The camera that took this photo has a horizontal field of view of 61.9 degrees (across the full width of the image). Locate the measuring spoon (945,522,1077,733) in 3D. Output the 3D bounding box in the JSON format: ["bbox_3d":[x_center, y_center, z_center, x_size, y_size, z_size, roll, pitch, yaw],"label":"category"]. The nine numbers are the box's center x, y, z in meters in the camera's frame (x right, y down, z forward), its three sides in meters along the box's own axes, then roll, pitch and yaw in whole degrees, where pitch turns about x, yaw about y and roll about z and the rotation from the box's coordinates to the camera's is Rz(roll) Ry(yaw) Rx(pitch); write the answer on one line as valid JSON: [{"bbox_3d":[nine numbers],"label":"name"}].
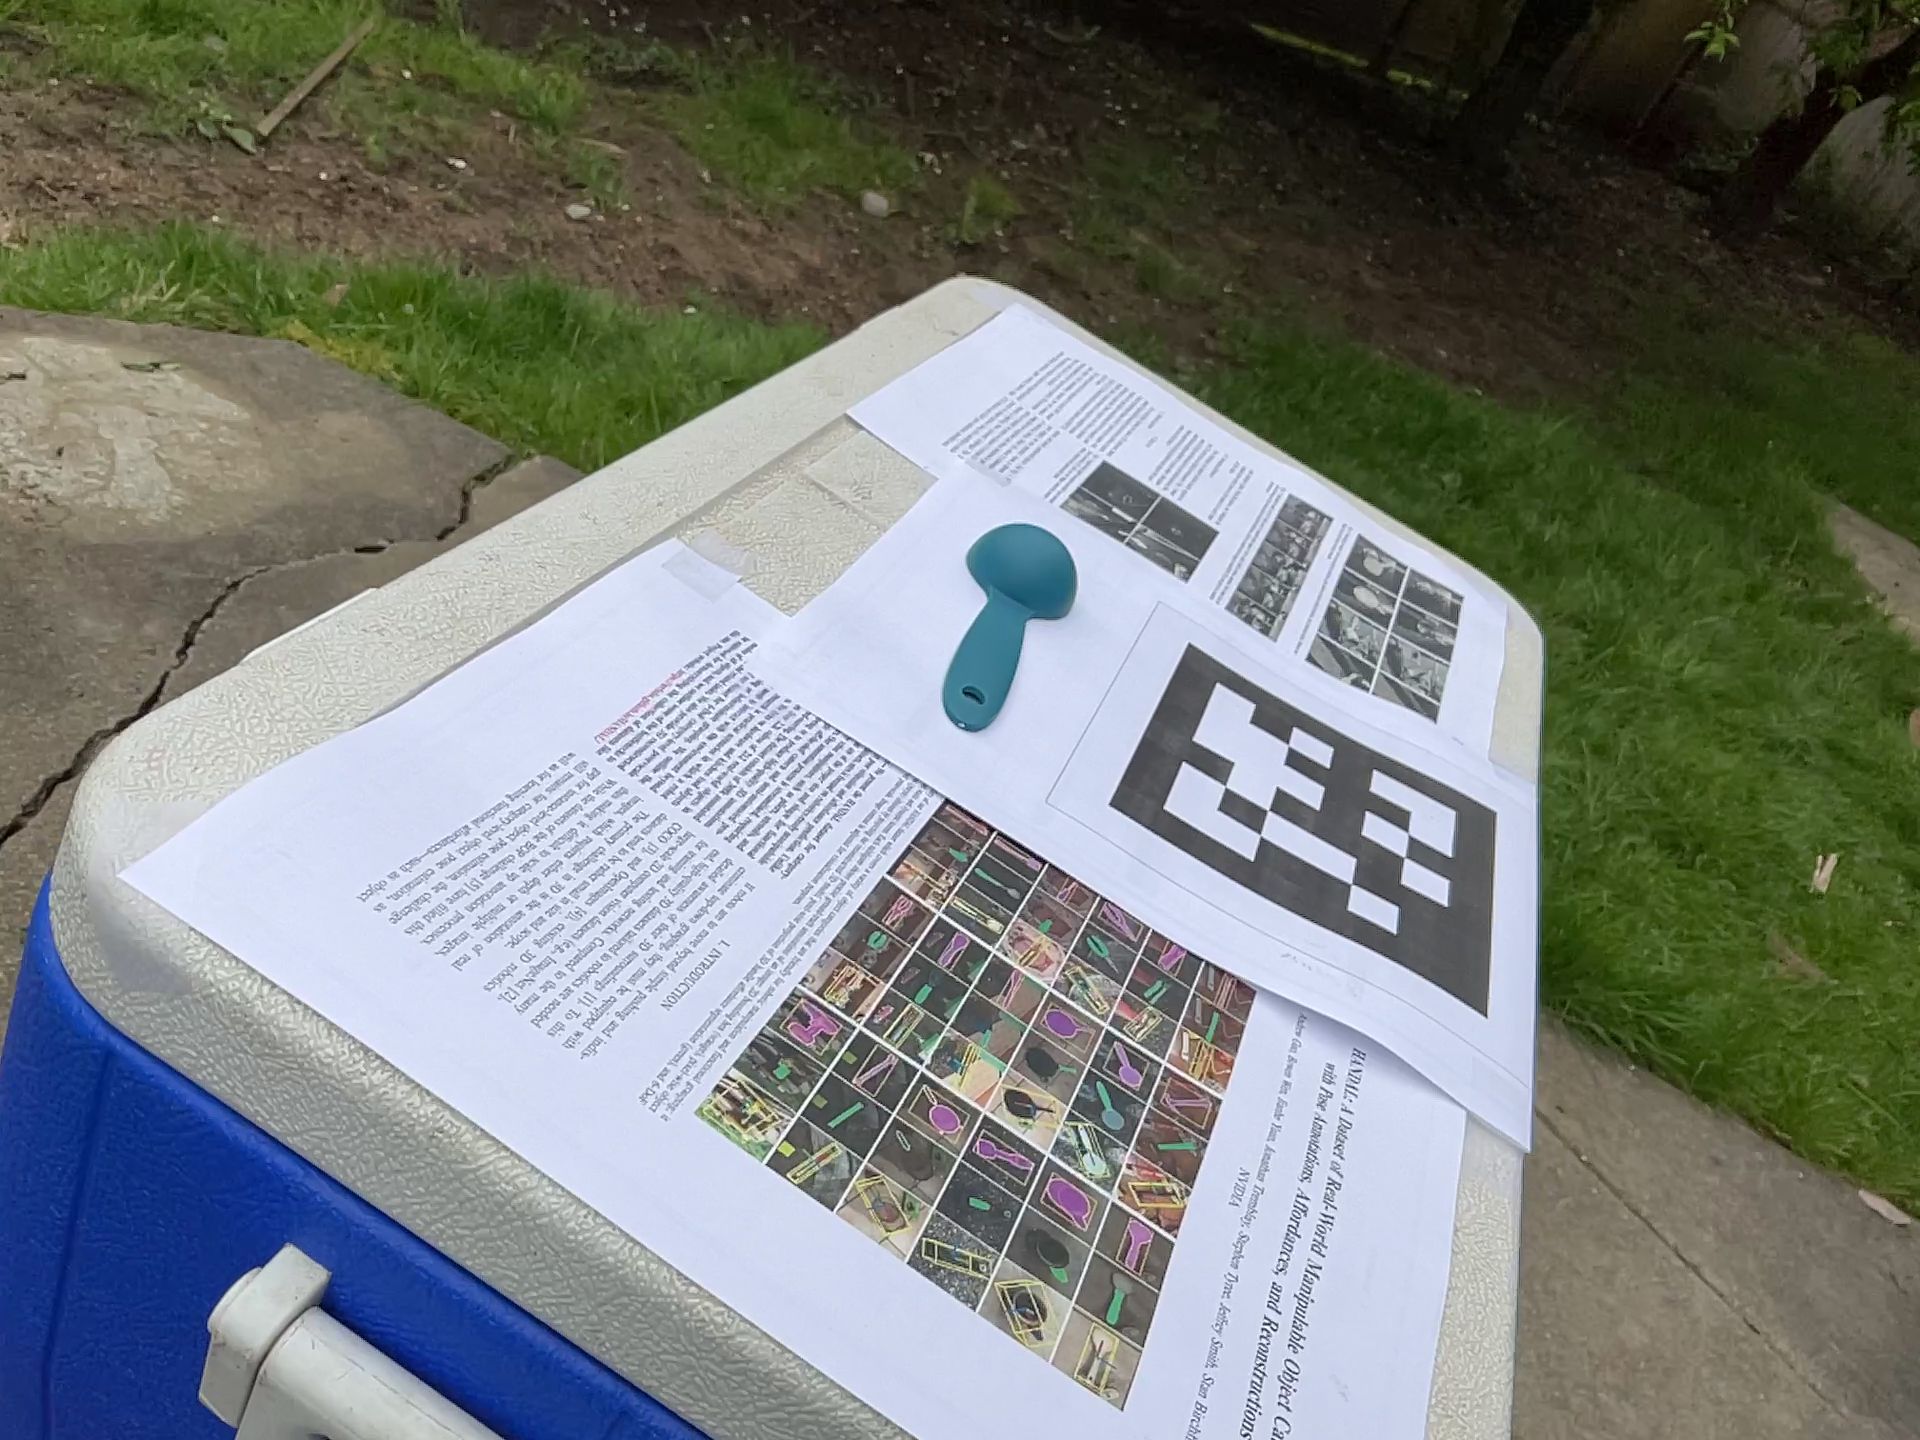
[{"bbox_3d":[0.017,-0.035,0.531,0.042,0.021,0.129,32,31,-7],"label":"measuring spoon"}]
